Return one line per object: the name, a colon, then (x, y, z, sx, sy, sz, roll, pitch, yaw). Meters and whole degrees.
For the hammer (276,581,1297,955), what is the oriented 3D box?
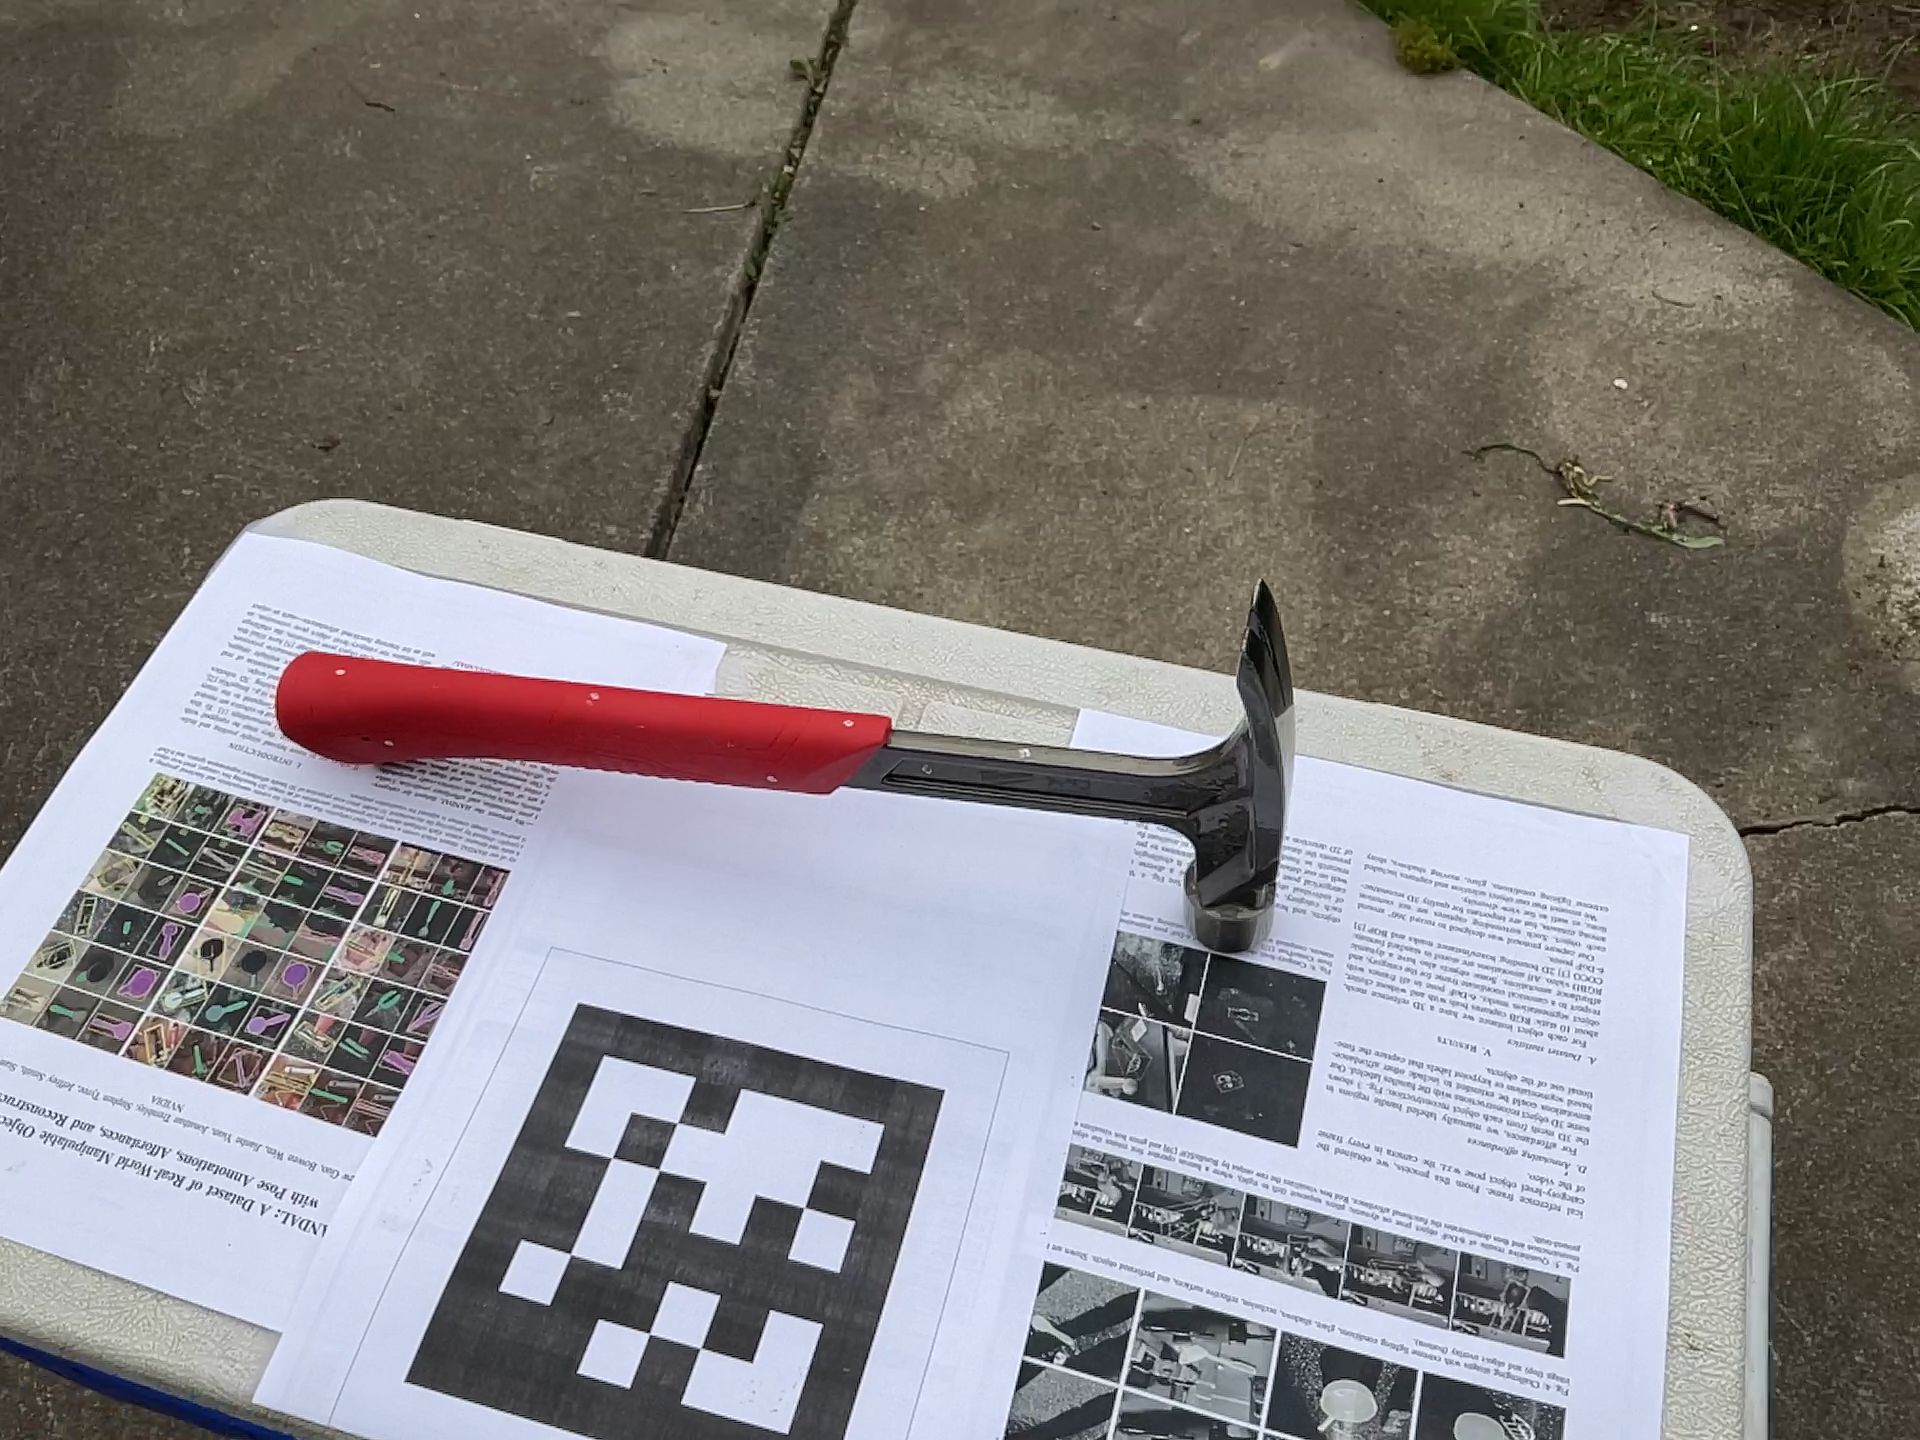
hammer: (-0.071, 0.003, 0.537, 0.359, 0.149, 0.037, 6, 50, 15)
